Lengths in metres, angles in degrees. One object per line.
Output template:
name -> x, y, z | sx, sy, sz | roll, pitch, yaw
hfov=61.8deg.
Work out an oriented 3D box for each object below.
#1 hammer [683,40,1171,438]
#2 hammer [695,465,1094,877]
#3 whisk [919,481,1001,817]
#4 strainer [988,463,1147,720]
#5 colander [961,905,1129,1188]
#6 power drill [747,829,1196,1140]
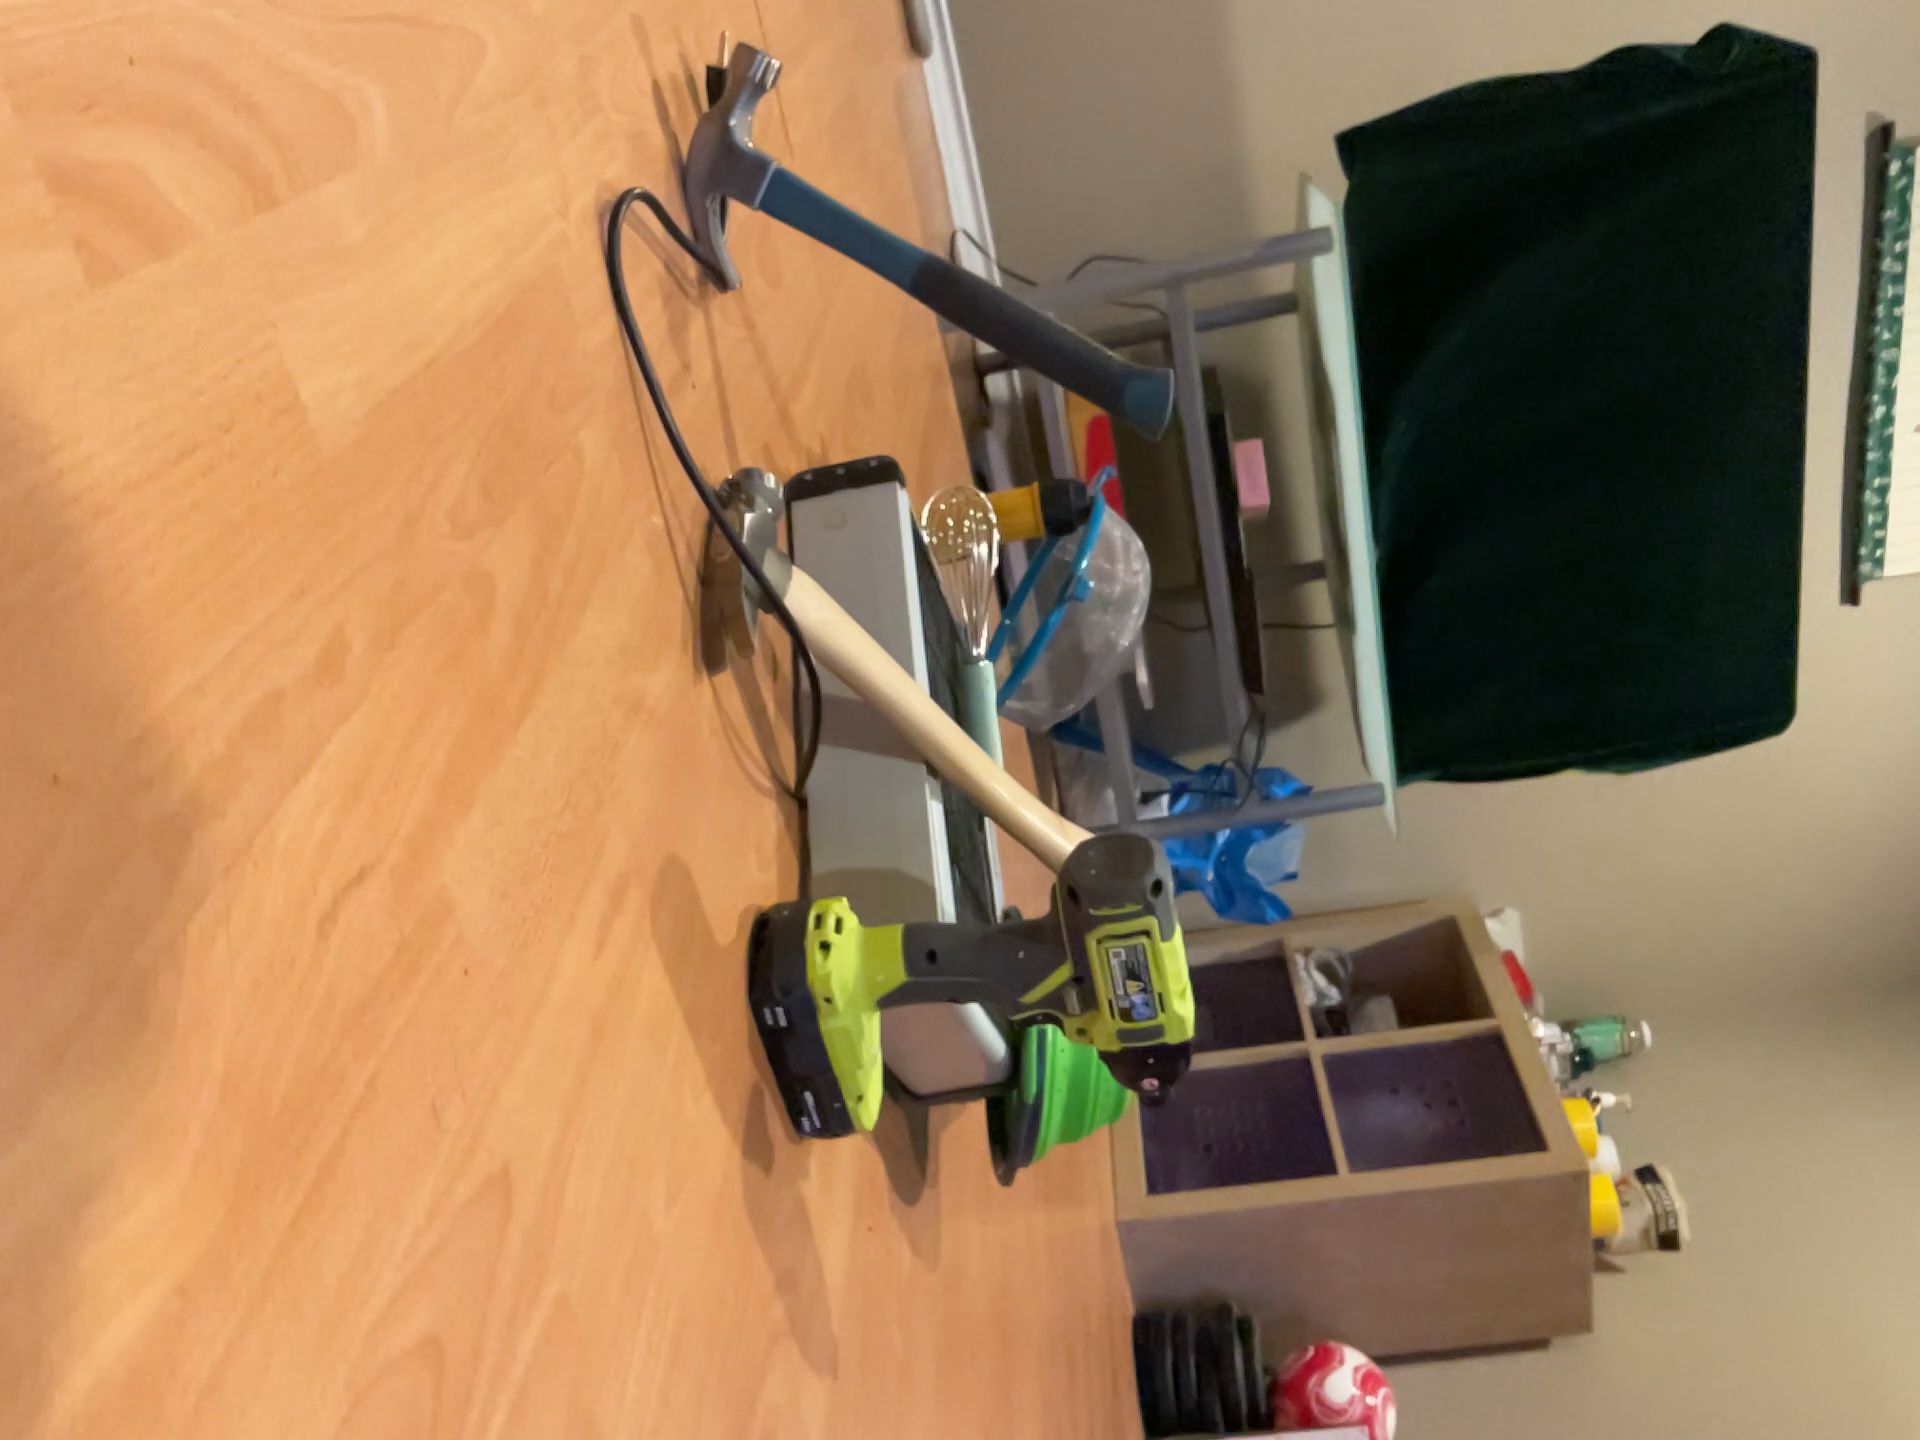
hammer -> -0.015, -0.269, 0.972 | 0.128, 0.331, 0.033 | -60, -173, 20
hammer -> -0.012, 0.021, 0.979 | 0.410, 0.038, 0.146 | 43, 30, -37
whisk -> 0.009, -0.051, 1.168 | 0.058, 0.059, 0.246 | -175, -103, -67
strainer -> 0.069, -0.036, 1.355 | 0.340, 0.095, 0.211 | -60, -172, 38
colander -> 0.064, 0.269, 1.268 | 0.396, 0.094, 0.204 | 109, -17, -69
power drill -> 0.012, 0.153, 0.861 | 0.080, 0.223, 0.171 | -87, 166, -58
